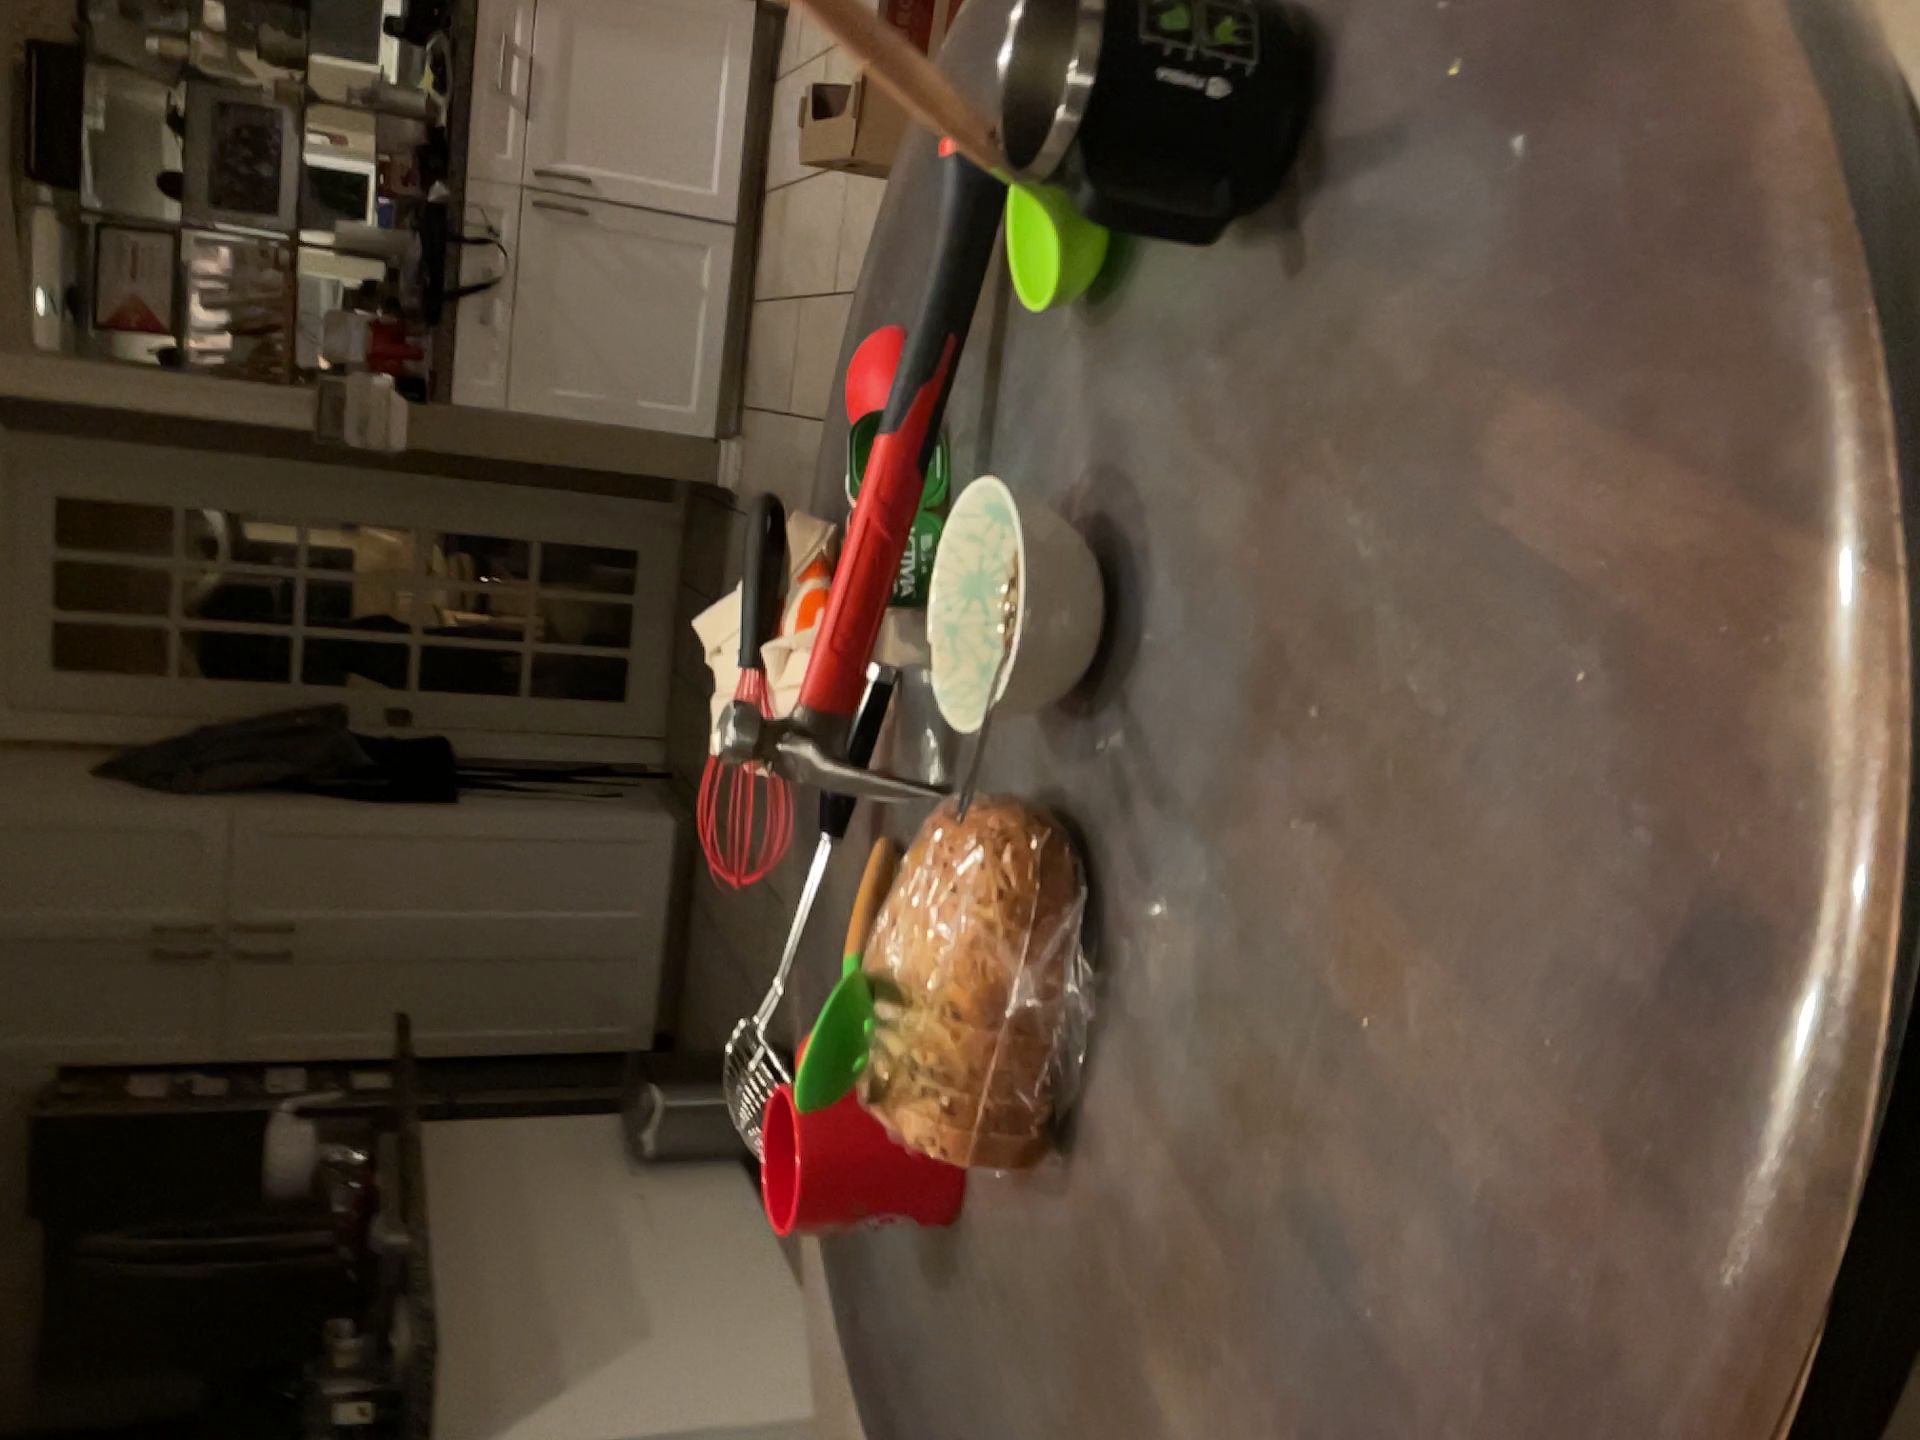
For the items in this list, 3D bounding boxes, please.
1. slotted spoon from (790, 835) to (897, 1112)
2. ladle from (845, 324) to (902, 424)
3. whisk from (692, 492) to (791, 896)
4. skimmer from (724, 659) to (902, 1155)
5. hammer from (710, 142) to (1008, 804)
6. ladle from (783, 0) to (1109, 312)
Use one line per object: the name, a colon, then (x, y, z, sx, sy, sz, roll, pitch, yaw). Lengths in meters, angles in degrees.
slotted spoon: (-0.054, 0.122, 0.875, 0.314, 0.031, 0.070, -80, 5, -74)
ladle: (-0.070, -0.114, 1.095, 0.069, 0.031, 0.315, -154, 67, -67)
whisk: (-0.153, -0.018, 1.155, 0.073, 0.073, 0.296, -169, 83, -70)
skimmer: (-0.080, 0.138, 1.076, 0.127, 0.090, 0.363, 33, 107, 57)
hammer: (-0.020, -0.143, 0.906, 0.038, 0.143, 0.386, 26, 99, 66)
ladle: (-0.009, -0.241, 0.658, 0.062, 0.320, 0.078, -13, 84, 23)
